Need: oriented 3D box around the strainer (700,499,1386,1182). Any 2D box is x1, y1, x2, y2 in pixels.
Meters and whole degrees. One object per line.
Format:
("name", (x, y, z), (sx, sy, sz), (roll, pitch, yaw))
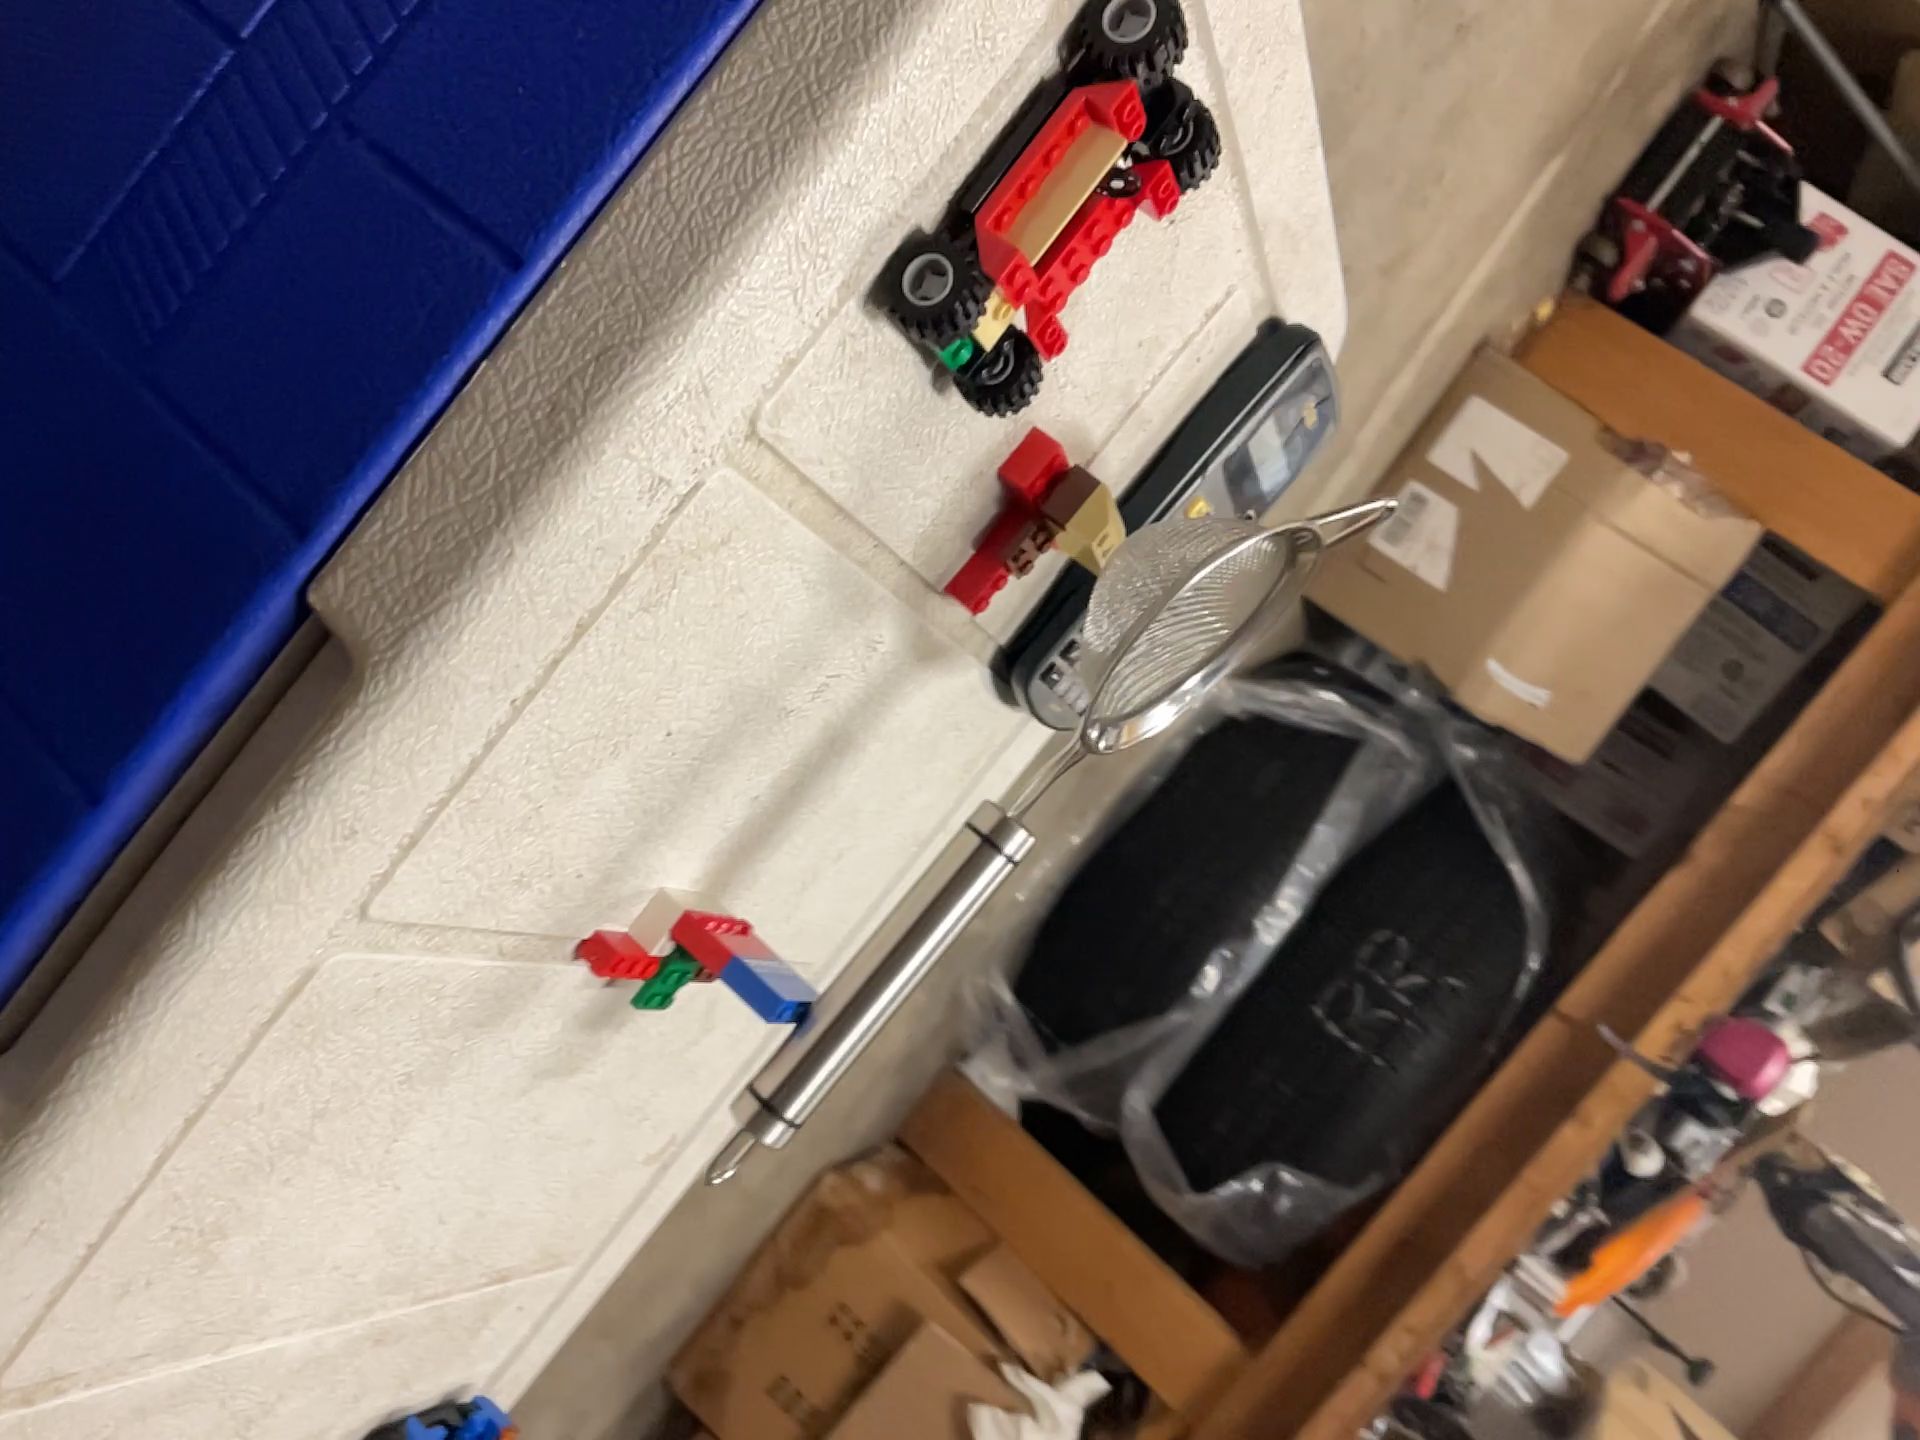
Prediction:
("strainer", (0.014, 0.025, 0.436), (0.258, 0.050, 0.086), (-49, 159, -2))
